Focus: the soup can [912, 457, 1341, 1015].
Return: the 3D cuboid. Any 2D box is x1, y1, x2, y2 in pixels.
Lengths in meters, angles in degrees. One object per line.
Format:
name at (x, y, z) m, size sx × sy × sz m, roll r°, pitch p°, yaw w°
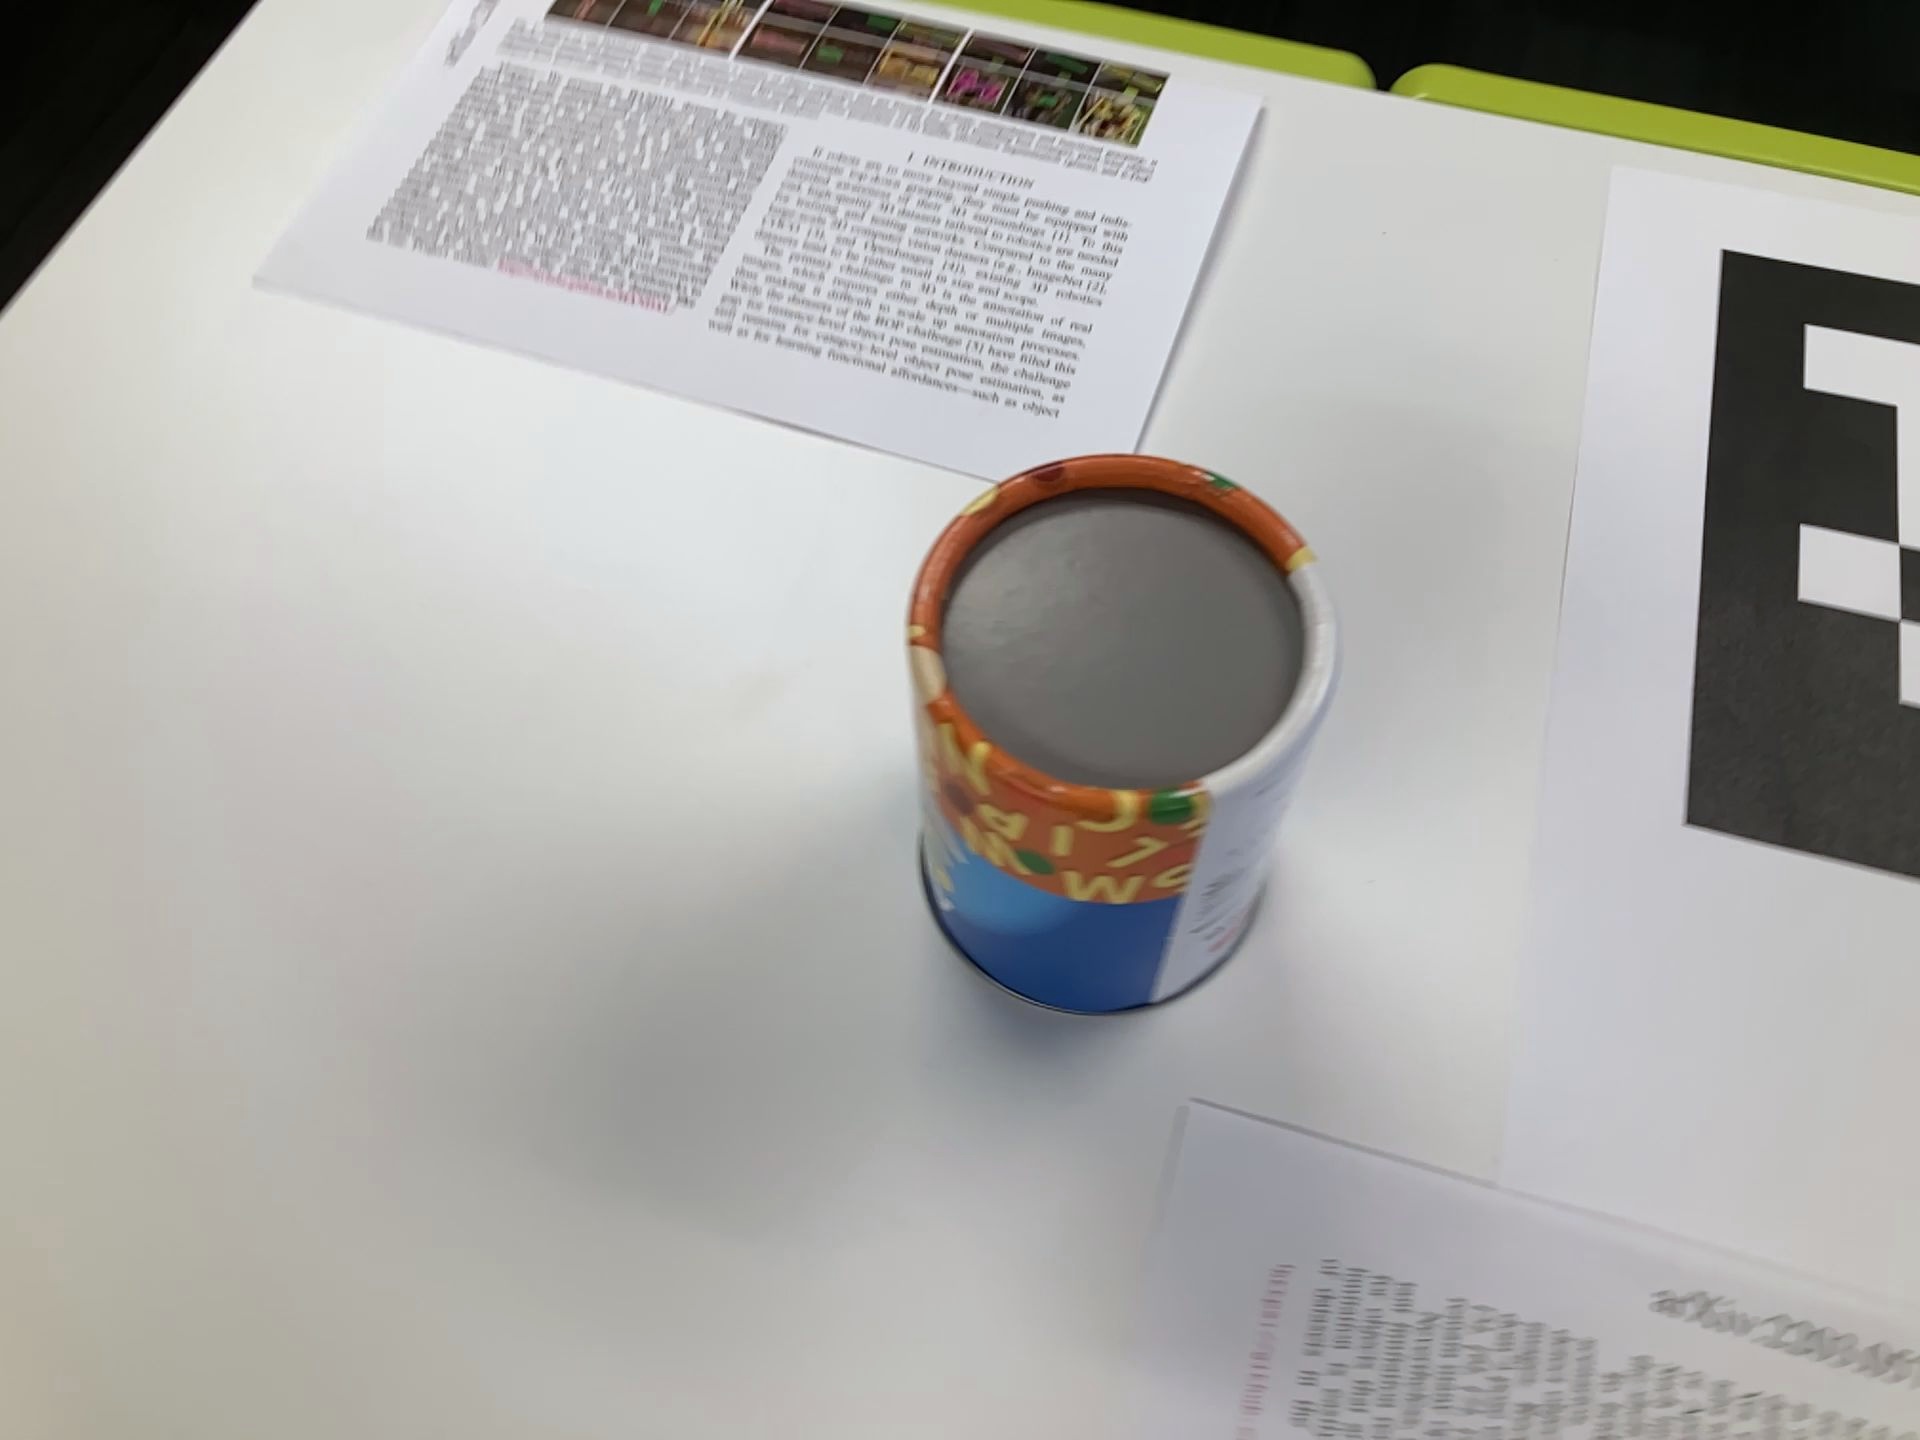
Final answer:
soup can at (0.023, 0.005, 0.276) m, size 0.071 × 0.084 × 0.071 m, roll 0°, pitch 59°, yaw 1°
